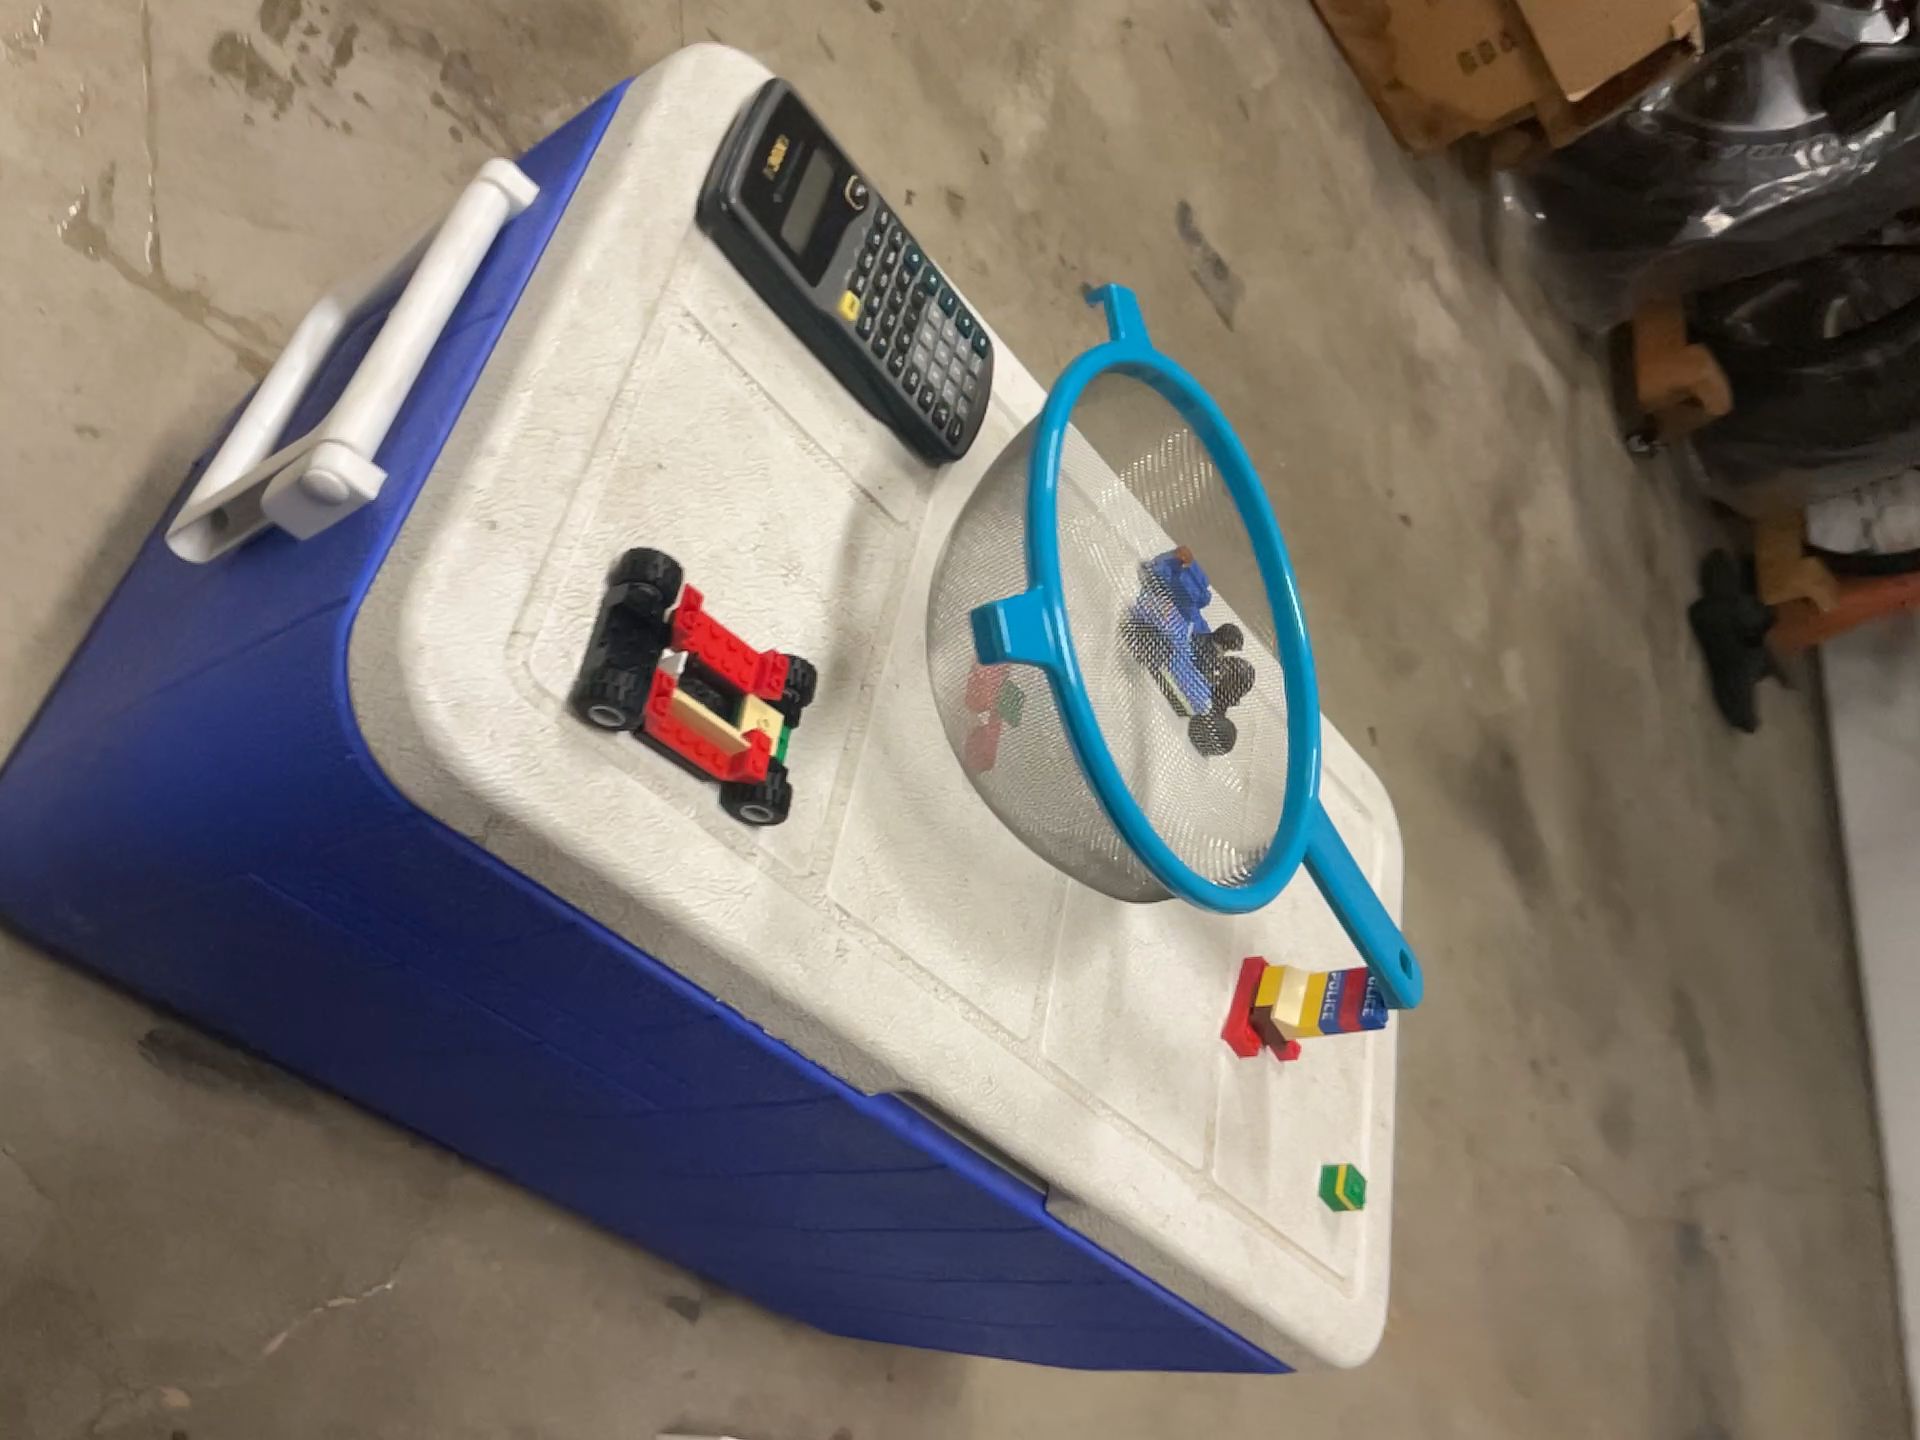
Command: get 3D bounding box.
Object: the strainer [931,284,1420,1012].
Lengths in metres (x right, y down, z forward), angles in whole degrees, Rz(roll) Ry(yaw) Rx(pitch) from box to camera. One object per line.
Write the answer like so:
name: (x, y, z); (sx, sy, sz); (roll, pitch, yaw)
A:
strainer: (0.083, 0.016, 0.634); (0.339, 0.095, 0.211); (53, 39, -34)
